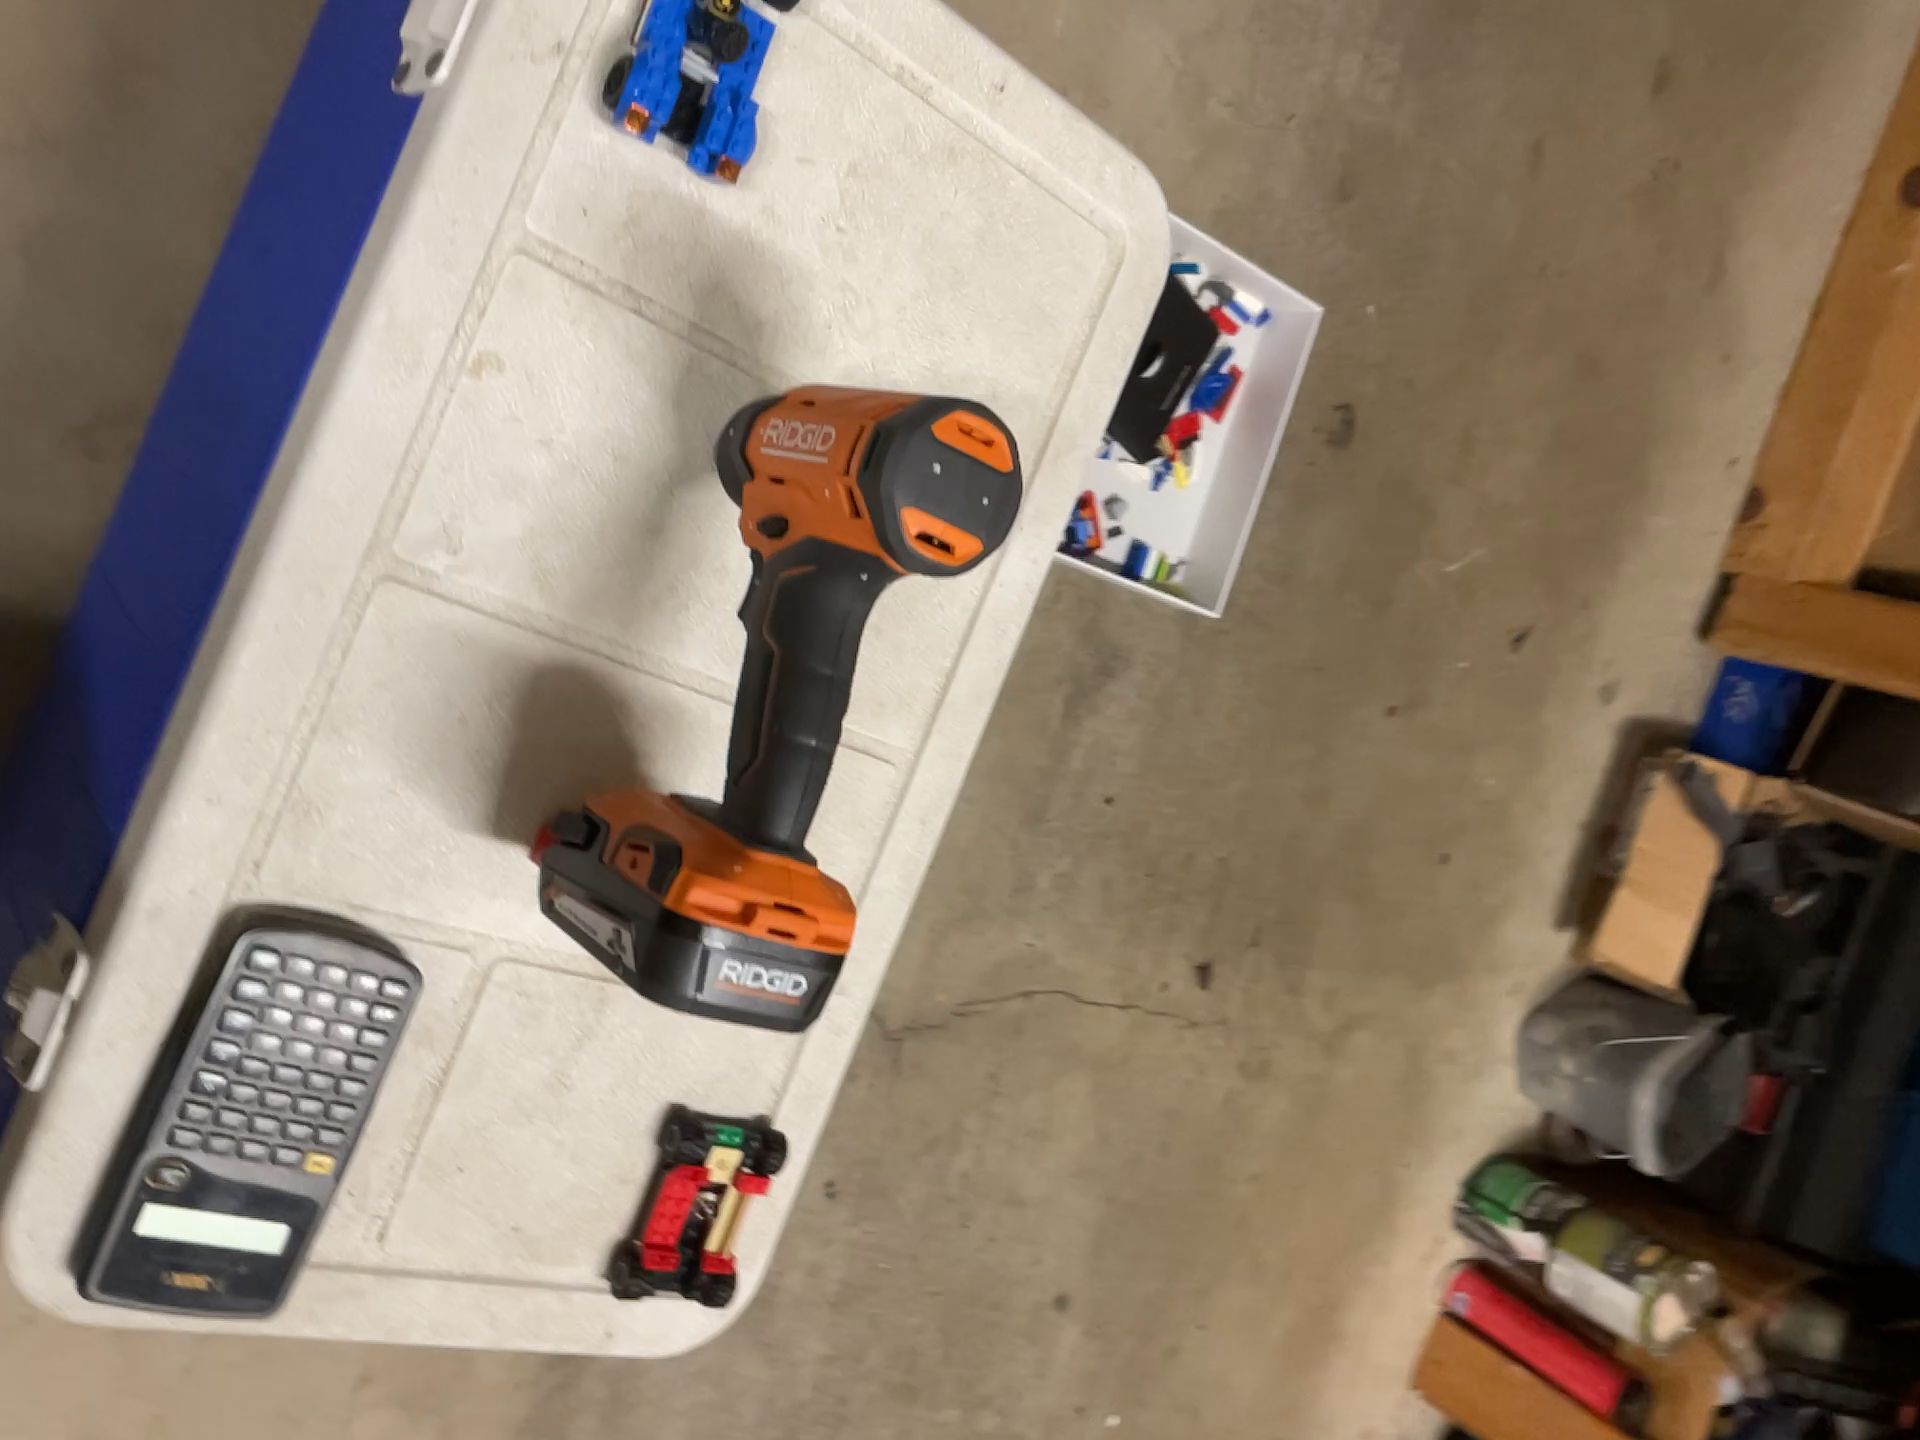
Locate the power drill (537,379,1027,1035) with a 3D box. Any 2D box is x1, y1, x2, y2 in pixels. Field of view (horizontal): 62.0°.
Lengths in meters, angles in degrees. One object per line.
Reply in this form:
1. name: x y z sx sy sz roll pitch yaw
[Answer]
1. power drill: -0.075 -0.018 0.593 0.084 0.164 0.226 21 90 -38
